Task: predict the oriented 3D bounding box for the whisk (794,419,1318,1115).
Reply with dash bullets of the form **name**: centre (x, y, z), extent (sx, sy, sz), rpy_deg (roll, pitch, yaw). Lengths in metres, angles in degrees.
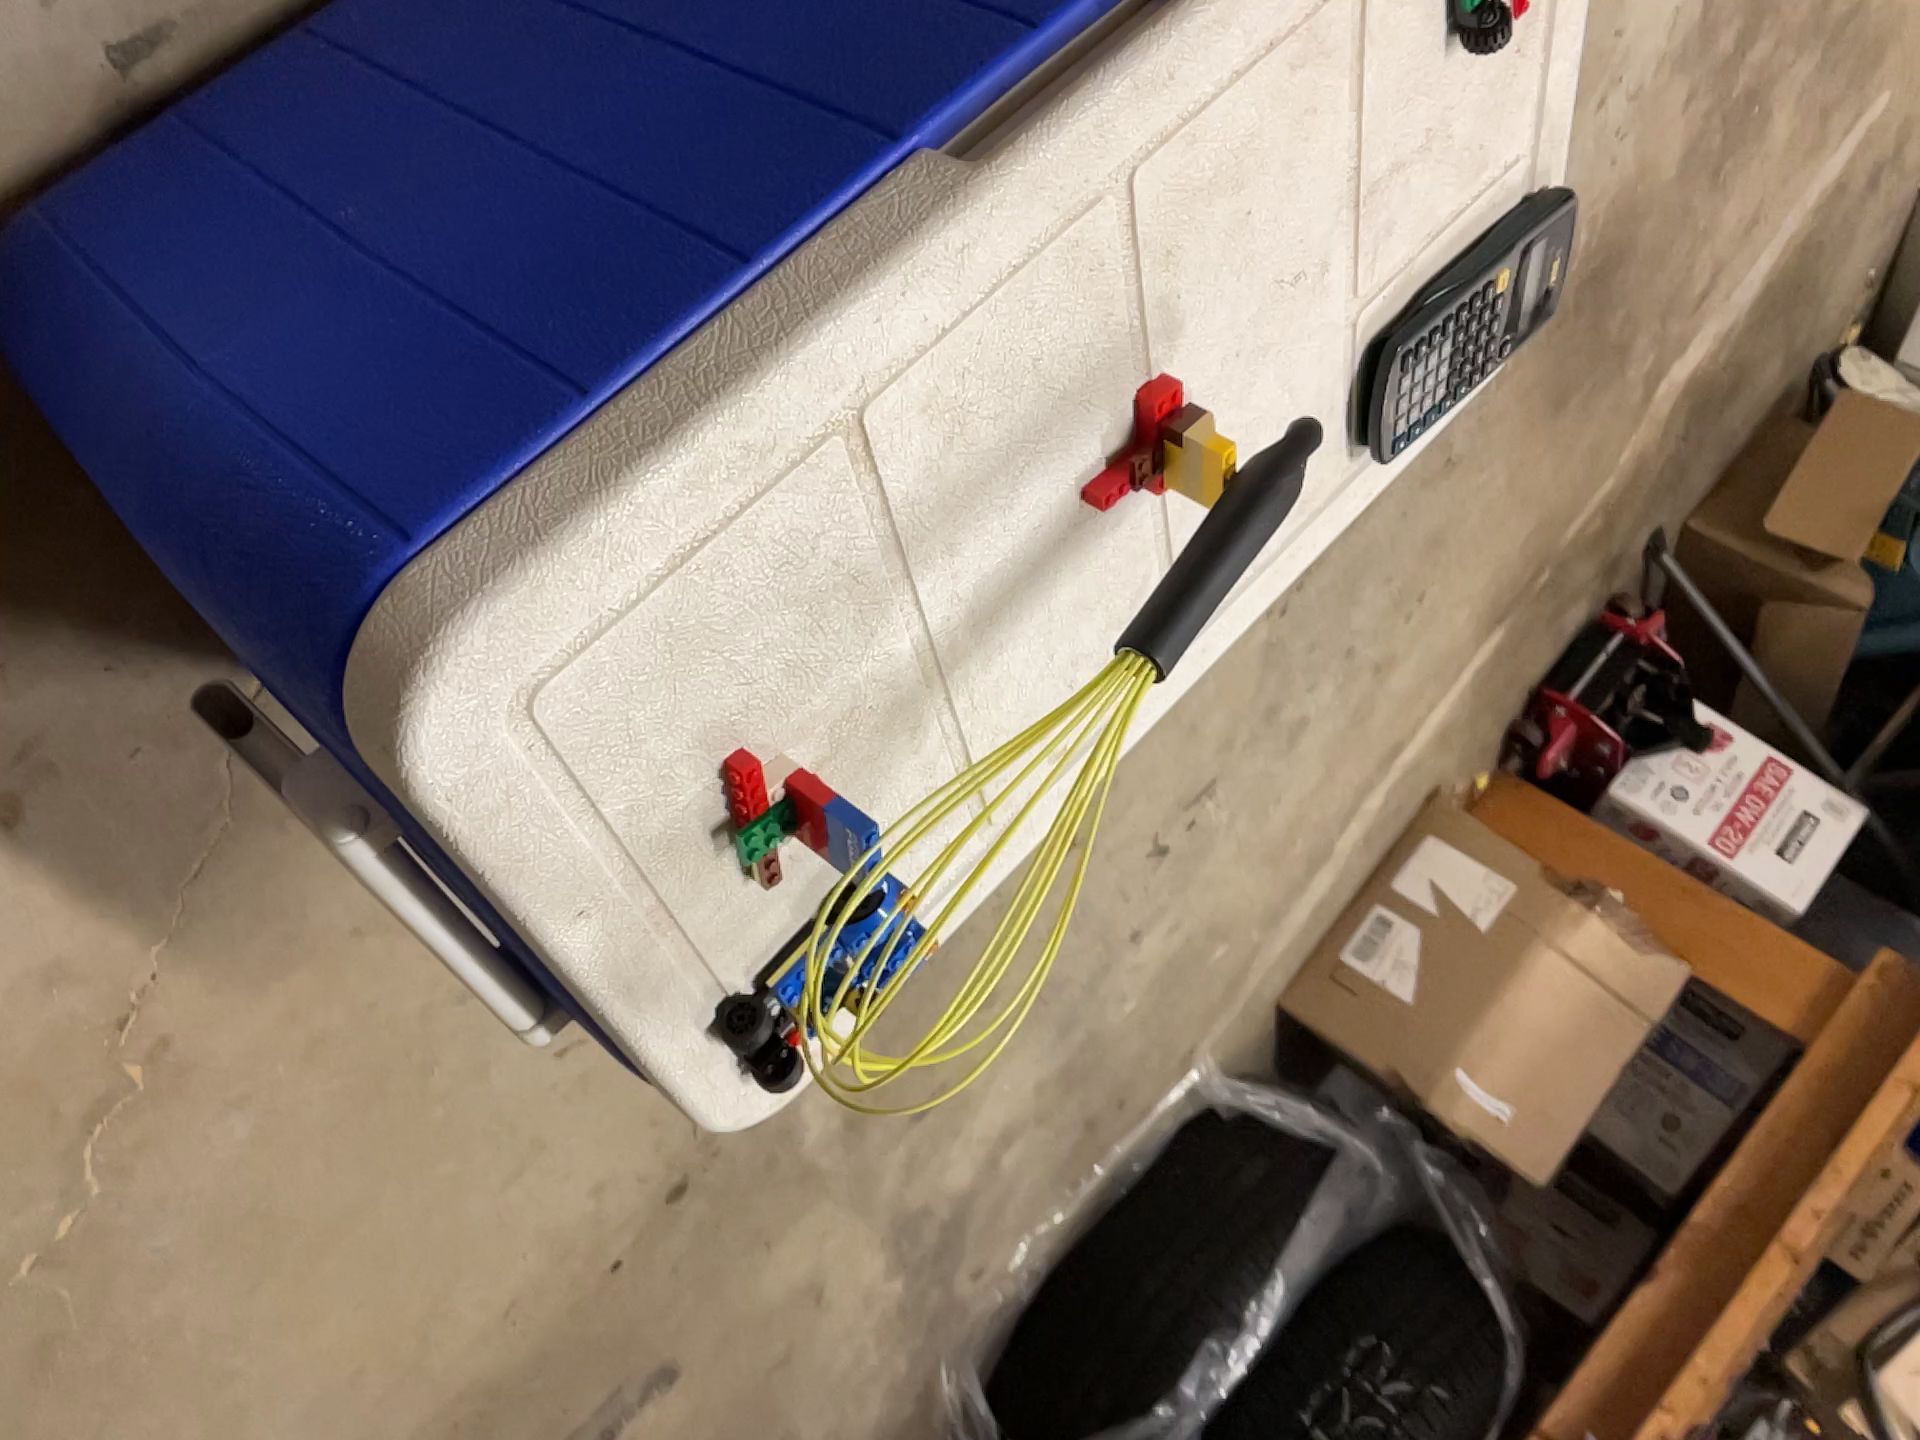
- **whisk**: centre (0.045, 0.001, 0.558), extent (0.312, 0.067, 0.080), rpy_deg (-53, -163, -21)
